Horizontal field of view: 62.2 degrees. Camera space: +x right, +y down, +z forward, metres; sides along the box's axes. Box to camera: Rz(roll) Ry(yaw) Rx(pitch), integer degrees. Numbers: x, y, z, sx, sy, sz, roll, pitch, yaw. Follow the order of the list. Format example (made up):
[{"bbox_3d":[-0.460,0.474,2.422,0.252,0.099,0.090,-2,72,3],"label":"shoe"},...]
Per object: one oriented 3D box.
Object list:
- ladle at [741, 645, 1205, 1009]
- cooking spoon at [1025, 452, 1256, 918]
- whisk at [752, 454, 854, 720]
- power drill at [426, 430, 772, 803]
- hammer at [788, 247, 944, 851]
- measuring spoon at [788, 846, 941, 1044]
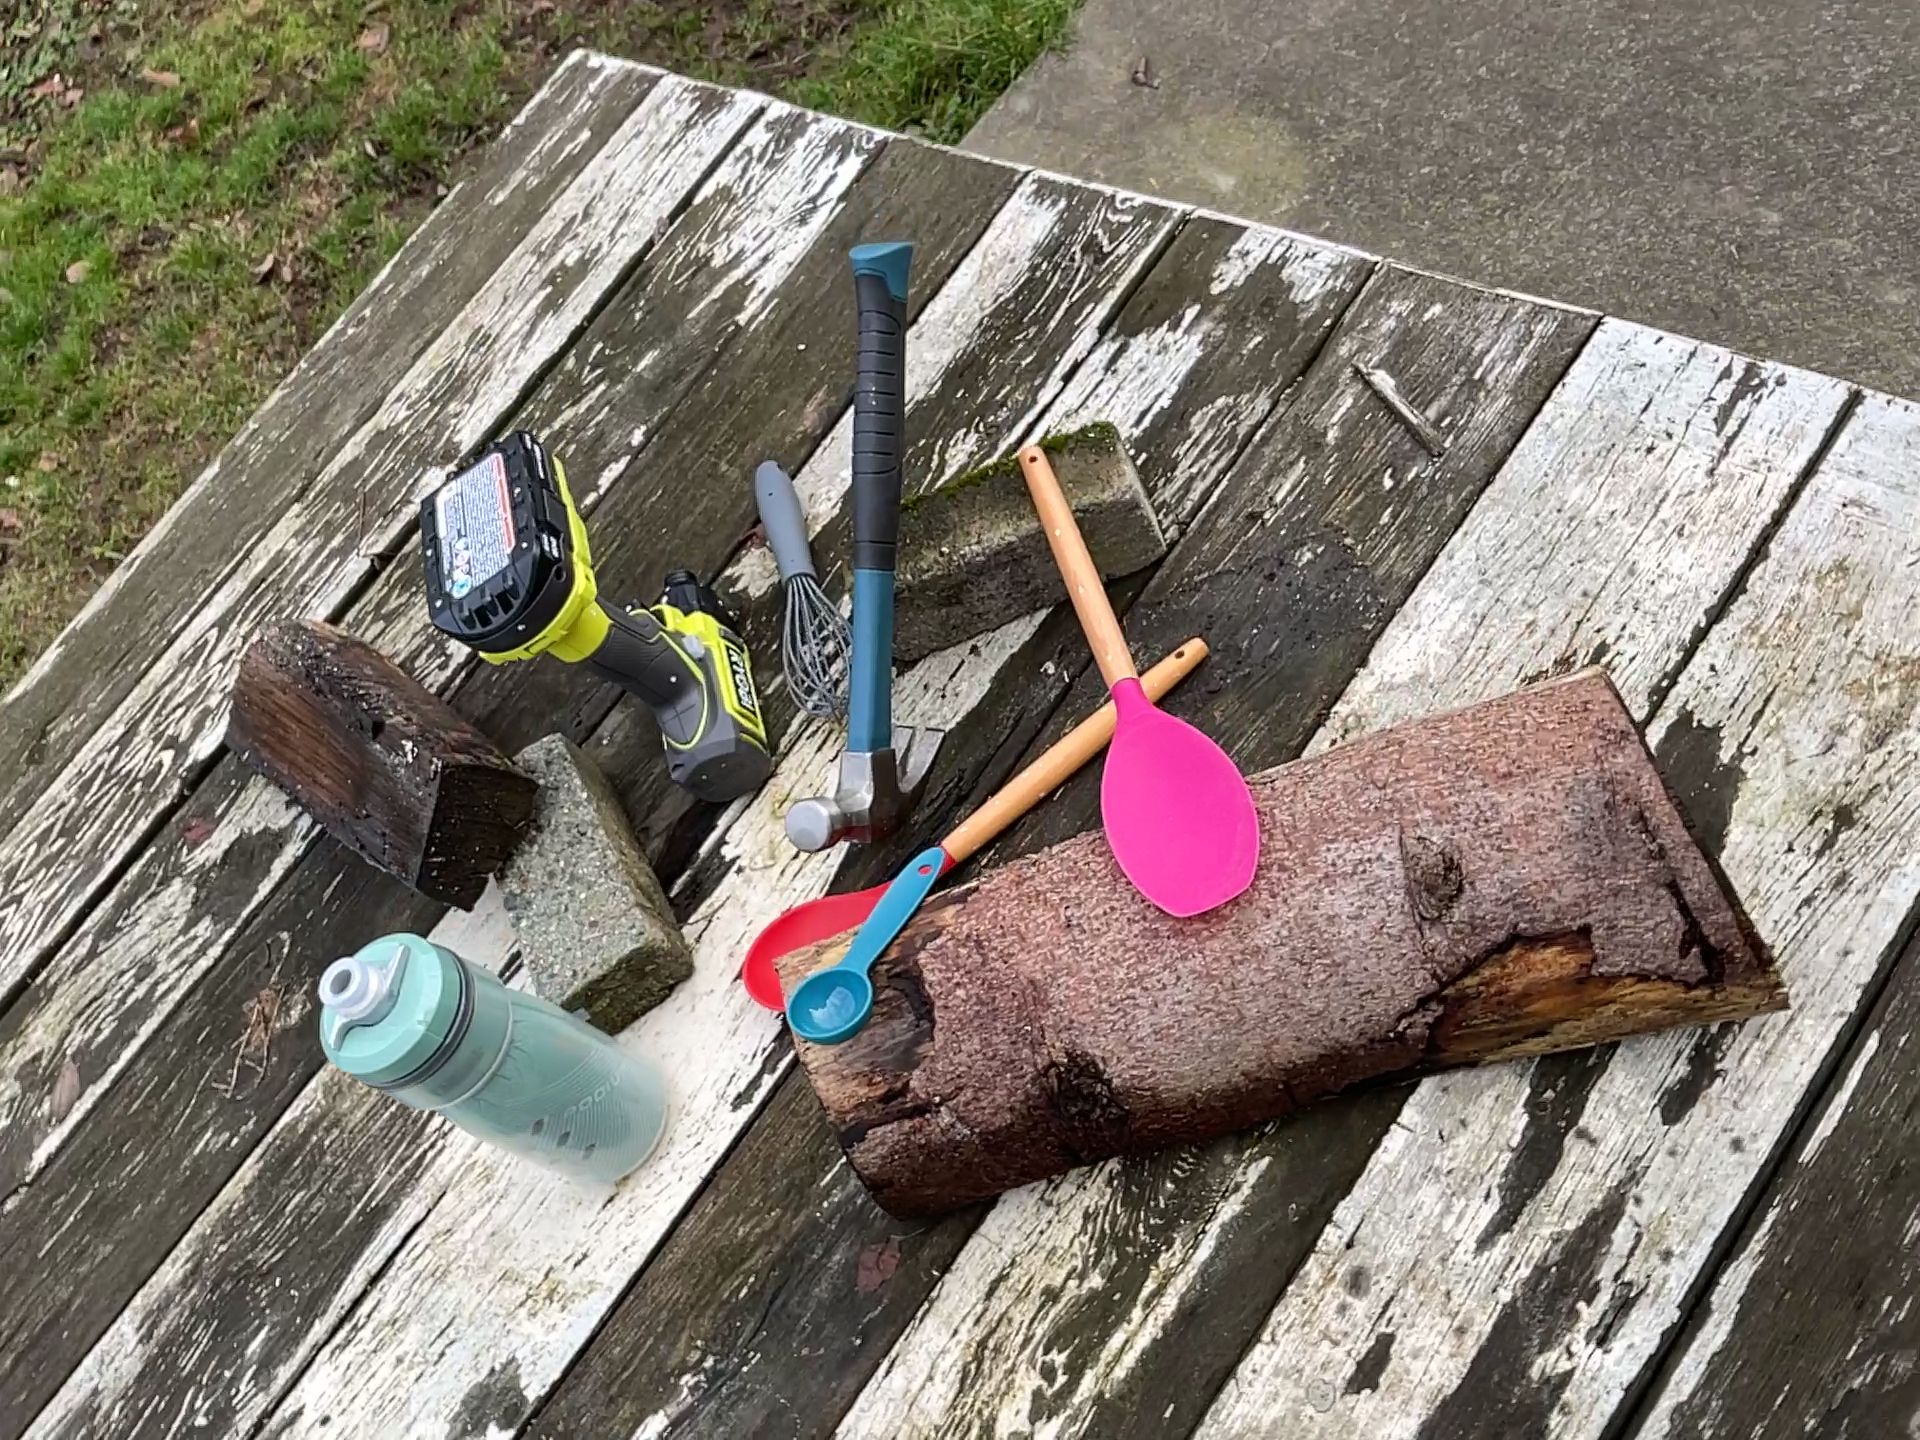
[{"bbox_3d":[0.012,0.058,0.894,0.315,0.031,0.069,-38,50,-3],"label":"ladle"},{"bbox_3d":[0.079,-0.033,0.815,0.069,0.017,0.319,-26,50,11],"label":"cooking spoon"},{"bbox_3d":[-0.103,-0.094,1.019,0.055,0.055,0.239,-22,51,2],"label":"whisk"},{"bbox_3d":[-0.206,-0.065,0.948,0.080,0.222,0.171,-31,51,15],"label":"power drill"},{"bbox_3d":[-0.047,-0.098,0.891,0.033,0.128,0.331,5,96,25],"label":"hammer"},{"bbox_3d":[-0.040,0.113,0.789,0.042,0.021,0.128,8,44,29],"label":"measuring spoon"}]
